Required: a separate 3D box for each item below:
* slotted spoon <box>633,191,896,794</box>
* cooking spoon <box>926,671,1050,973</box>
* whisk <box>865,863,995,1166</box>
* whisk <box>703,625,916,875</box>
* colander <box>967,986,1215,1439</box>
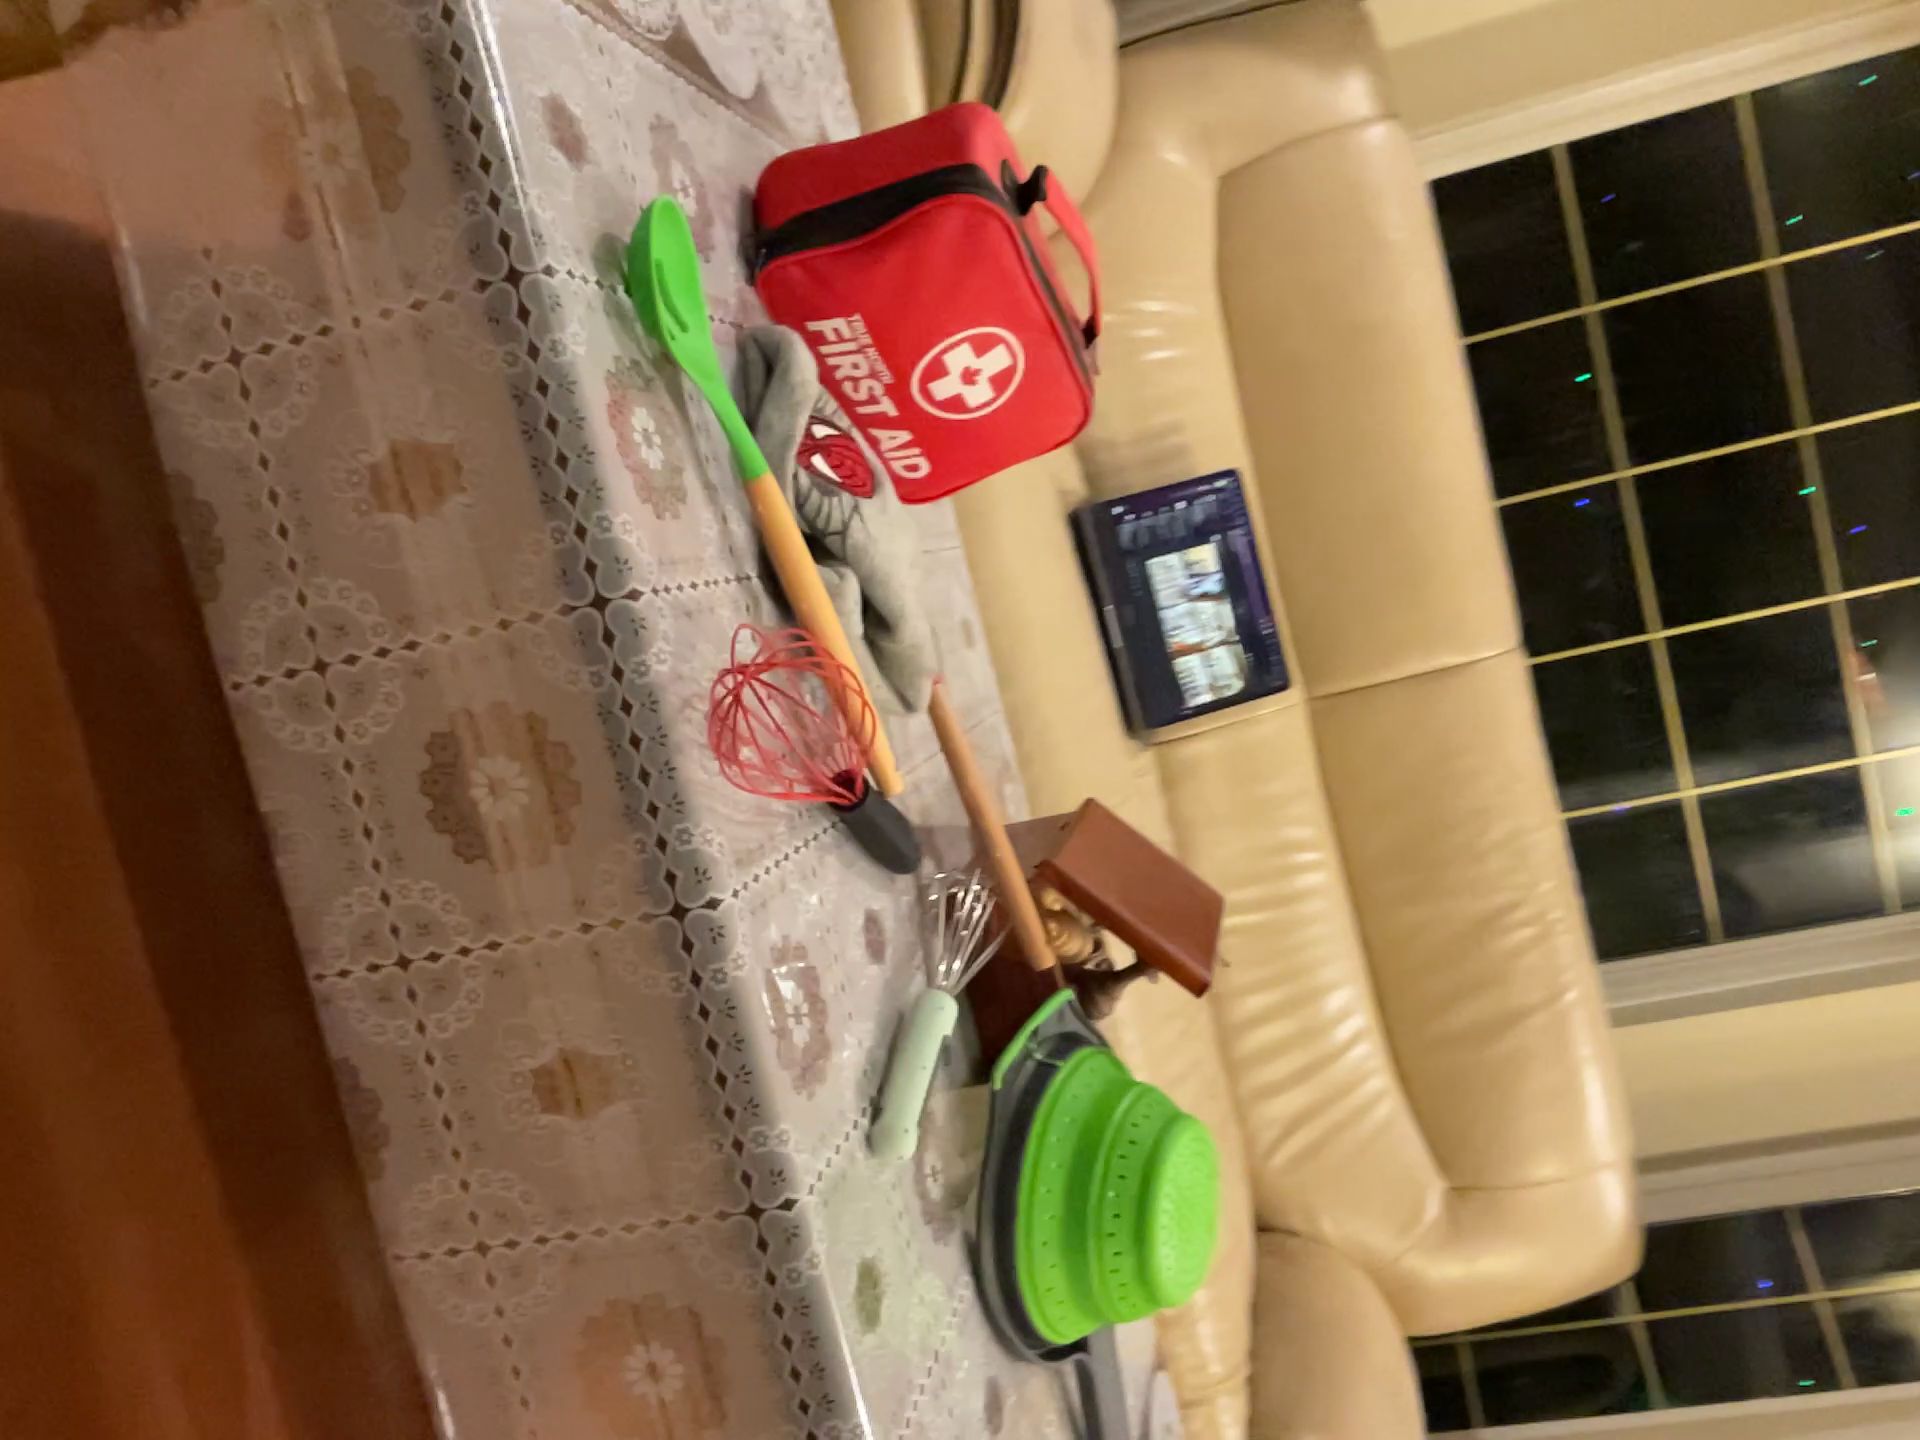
[{"bbox_3d":[-0.091,-0.098,0.774,0.070,0.031,0.313,-75,147,-63],"label":"slotted spoon"},{"bbox_3d":[-0.009,0.002,0.969,0.319,0.017,0.068,69,14,9],"label":"cooking spoon"},{"bbox_3d":[-0.018,0.155,0.878,0.057,0.059,0.246,32,28,-8],"label":"whisk"},{"bbox_3d":[-0.060,0.028,0.784,0.295,0.073,0.073,62,13,-67],"label":"whisk"},{"bbox_3d":[0.106,0.363,0.982,0.204,0.094,0.397,-36,122,-54],"label":"colander"}]
